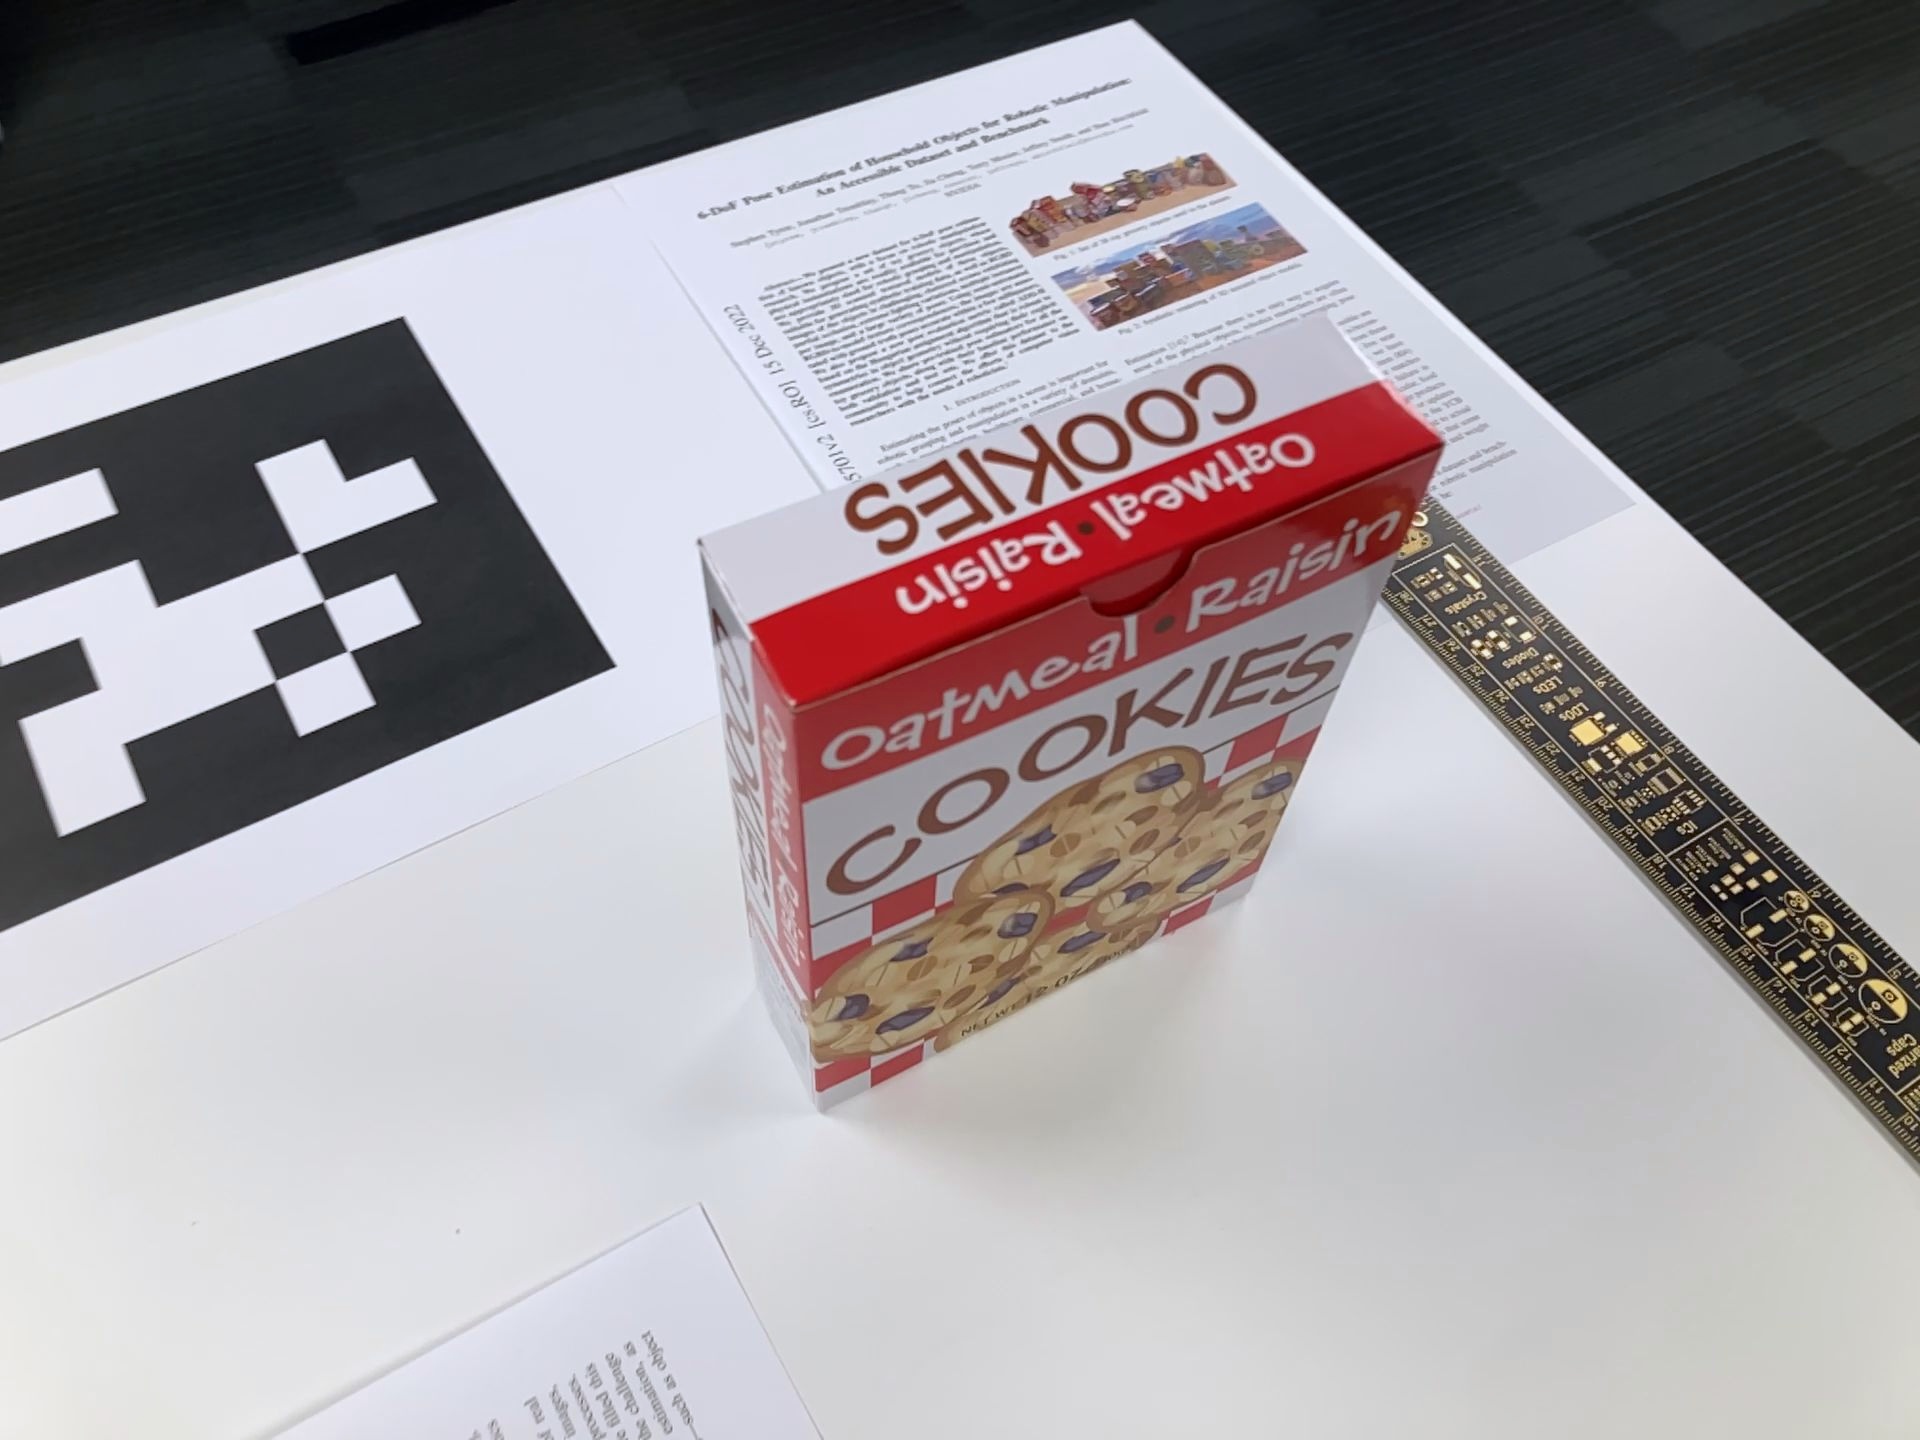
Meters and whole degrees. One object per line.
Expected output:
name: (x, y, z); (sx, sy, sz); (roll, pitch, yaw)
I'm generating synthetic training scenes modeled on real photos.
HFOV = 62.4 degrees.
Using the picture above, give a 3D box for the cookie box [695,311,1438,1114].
cookie box: (0.017, 0.009, 0.323); (0.123, 0.167, 0.040); (-23, 60, -18)
